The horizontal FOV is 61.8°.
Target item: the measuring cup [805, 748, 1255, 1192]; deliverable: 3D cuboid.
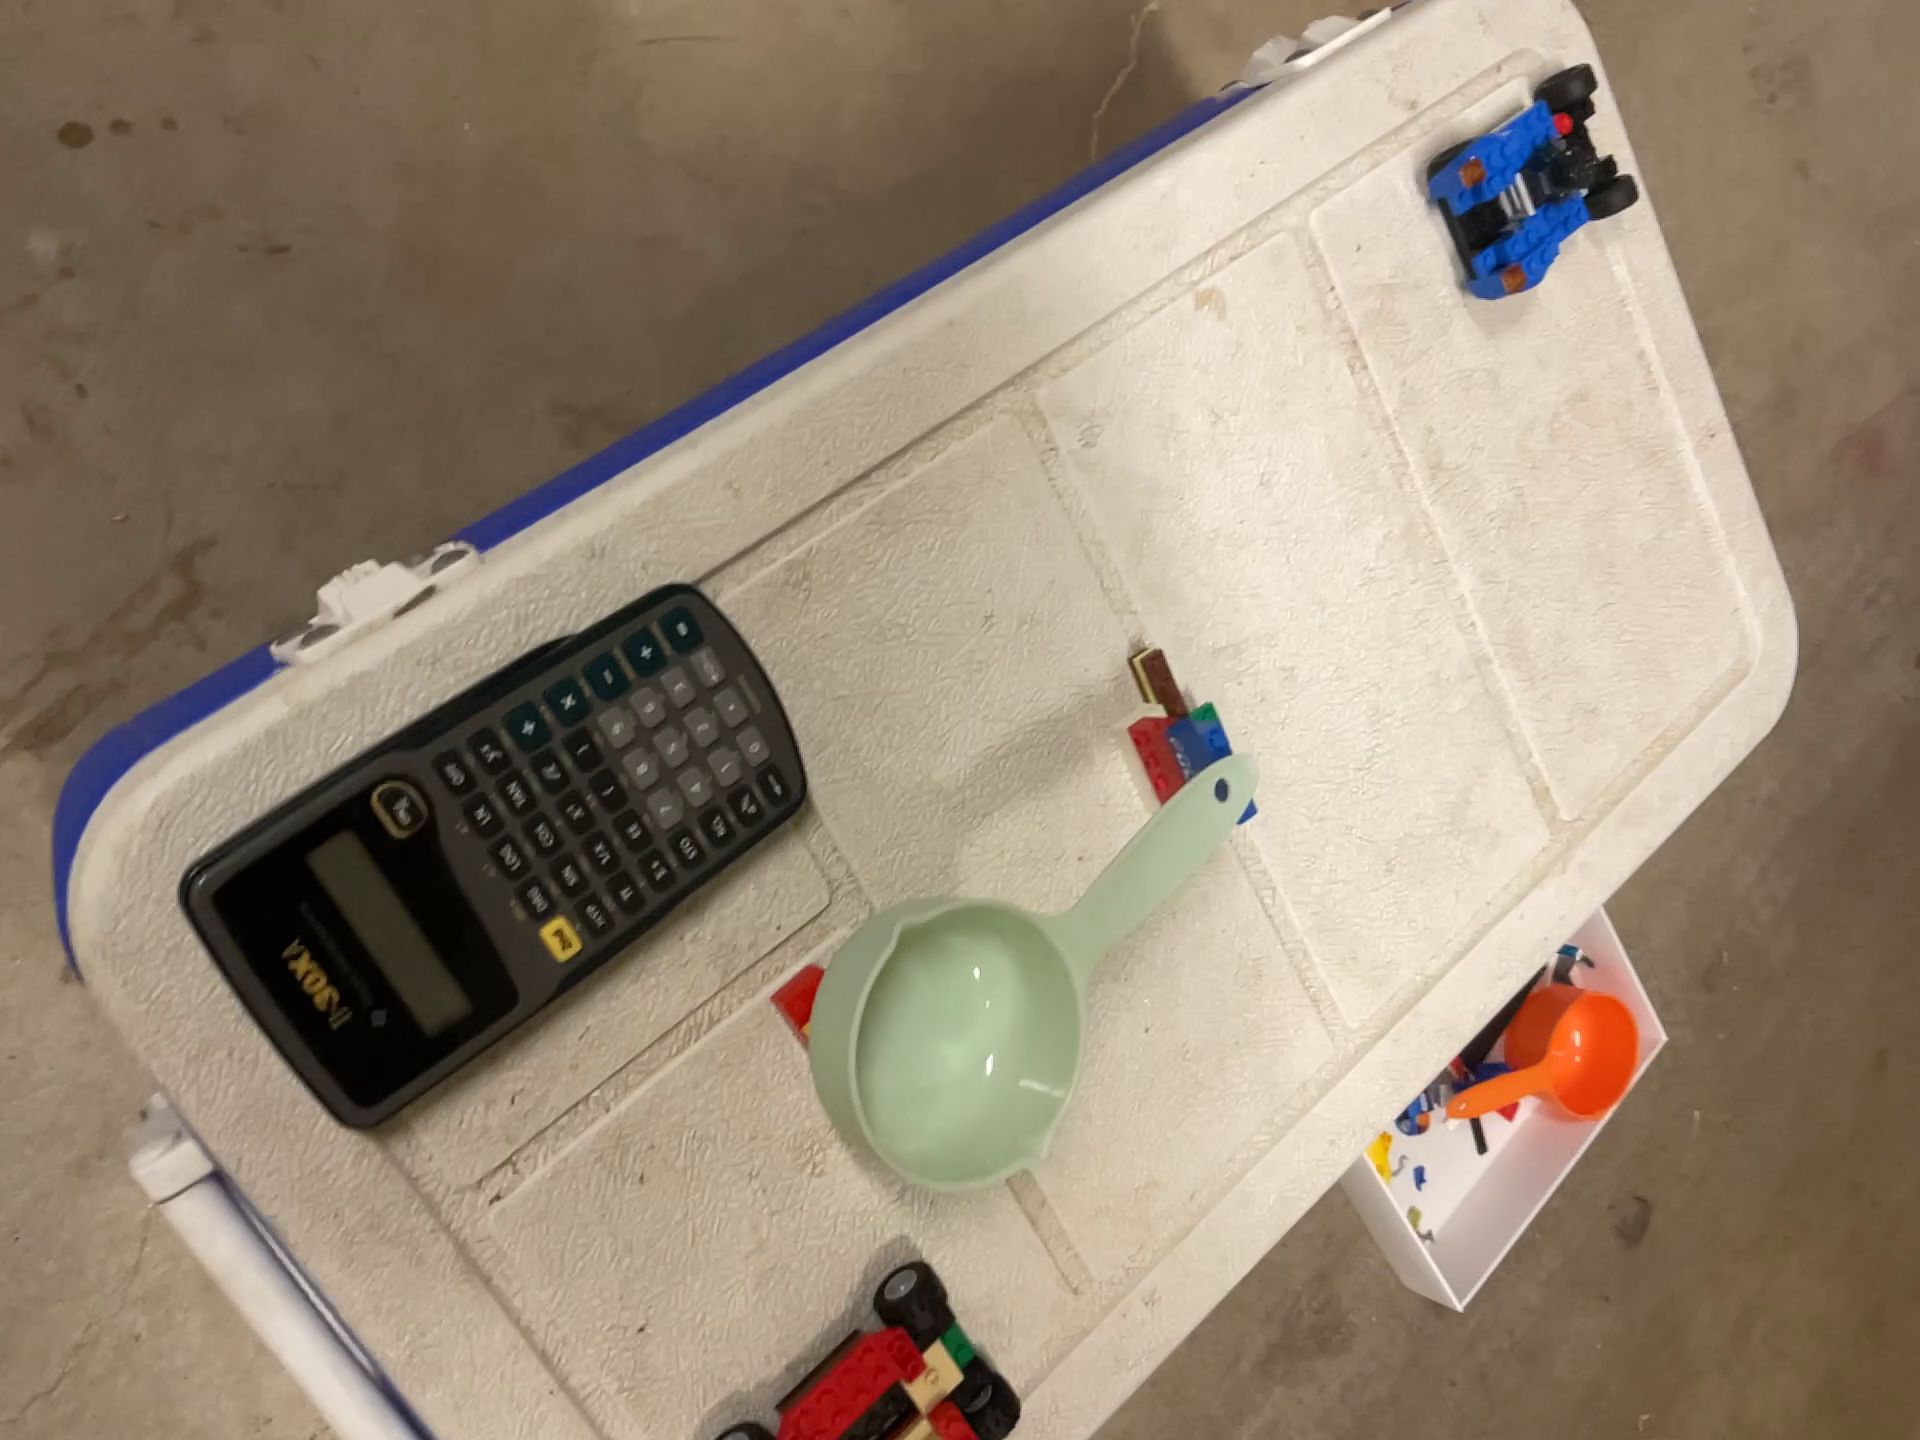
[{"bbox_3d":[0.024,0.060,0.458,0.168,0.038,0.083,-41,110,-29],"label":"measuring cup"}]
